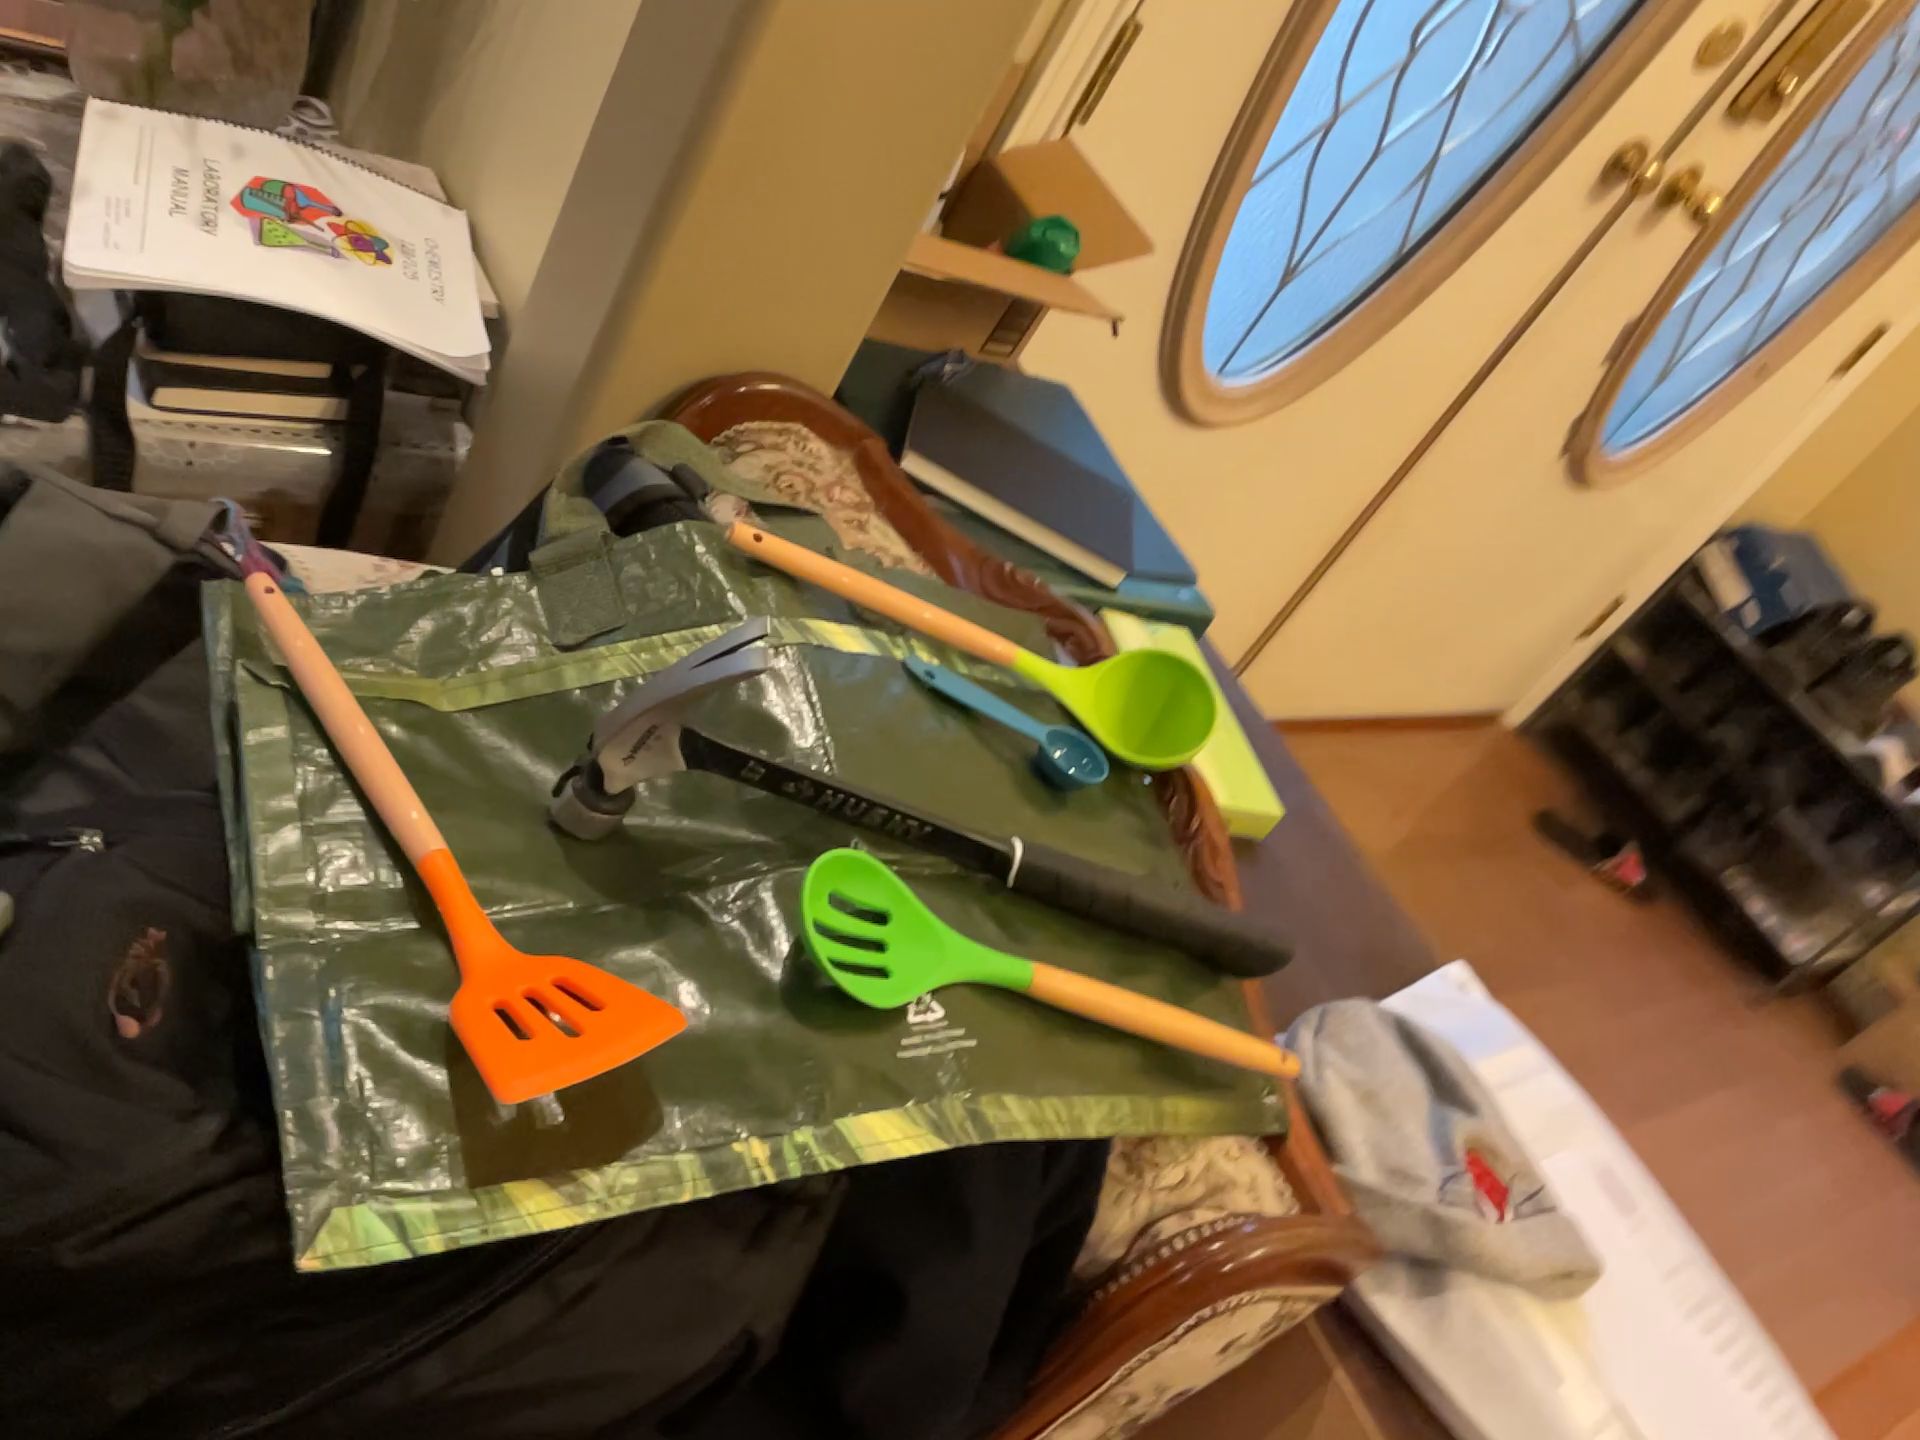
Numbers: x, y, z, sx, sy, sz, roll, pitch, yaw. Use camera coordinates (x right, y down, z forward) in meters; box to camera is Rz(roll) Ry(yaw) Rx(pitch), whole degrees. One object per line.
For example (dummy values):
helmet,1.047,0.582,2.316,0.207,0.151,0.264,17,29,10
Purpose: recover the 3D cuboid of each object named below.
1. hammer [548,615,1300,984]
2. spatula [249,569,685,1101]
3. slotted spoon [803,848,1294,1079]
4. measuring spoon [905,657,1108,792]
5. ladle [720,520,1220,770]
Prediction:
hammer,0.015,0.063,0.789,0.408,0.149,0.036,22,44,-29
spatula,-0.233,0.035,0.674,0.081,0.041,0.323,-16,54,-40
slotted spoon,0.050,0.132,0.758,0.313,0.031,0.070,24,49,-31
measuring spoon,0.022,0.005,0.869,0.128,0.021,0.042,30,32,-9
ladle,0.014,-0.048,0.892,0.319,0.062,0.078,23,60,-28
